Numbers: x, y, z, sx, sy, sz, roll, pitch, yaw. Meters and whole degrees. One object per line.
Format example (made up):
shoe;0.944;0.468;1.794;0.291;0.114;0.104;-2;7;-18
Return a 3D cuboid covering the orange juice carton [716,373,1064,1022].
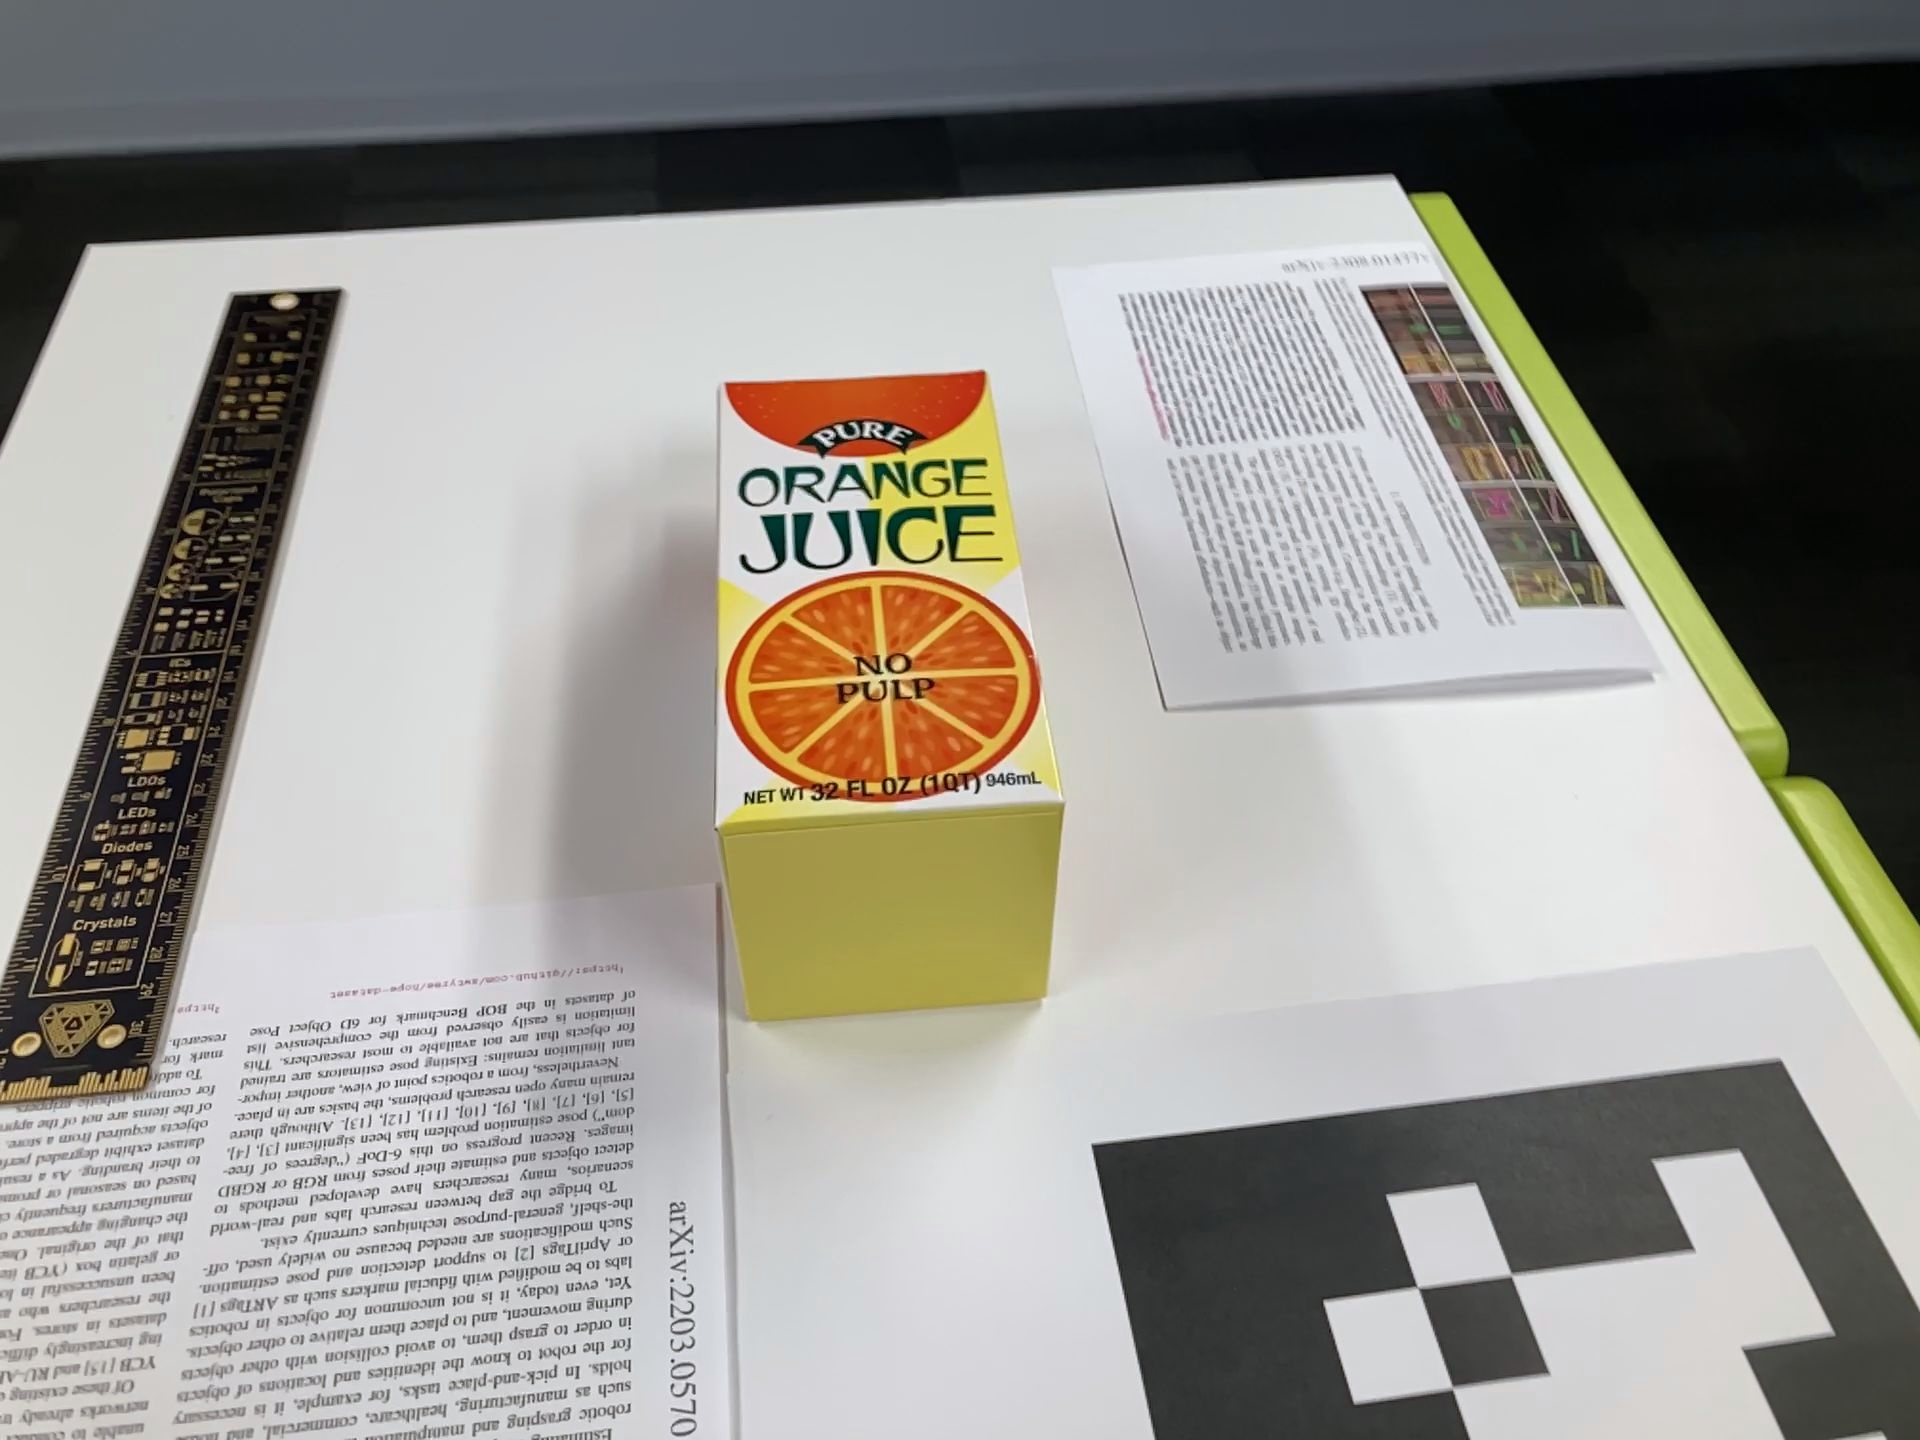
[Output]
orange juice carton;-0.023;-0.026;0.407;0.072;0.073;0.192;-4;48;-4
